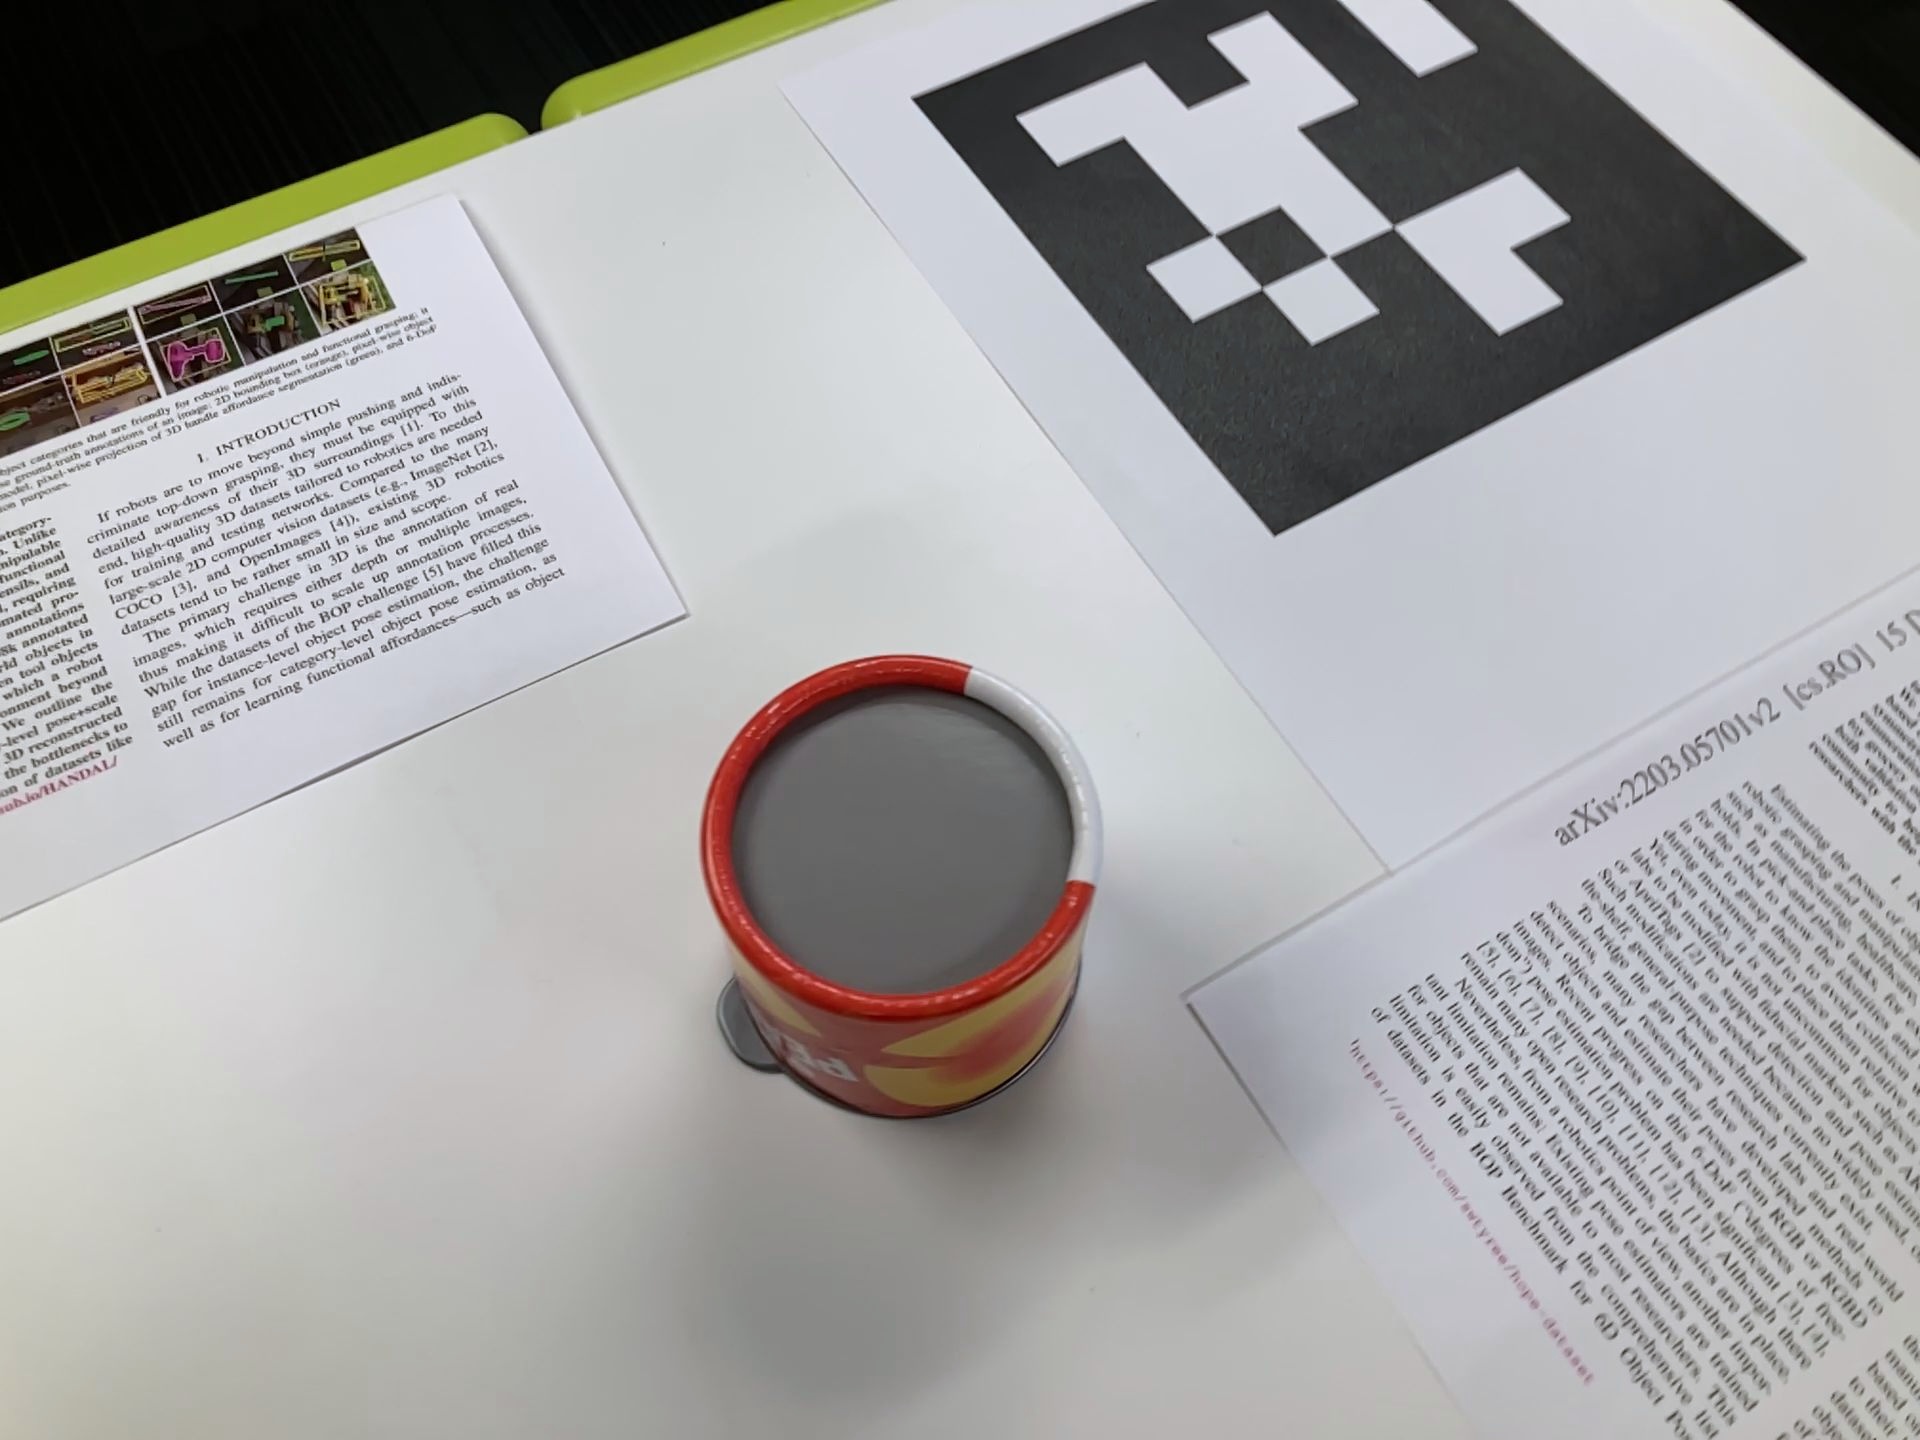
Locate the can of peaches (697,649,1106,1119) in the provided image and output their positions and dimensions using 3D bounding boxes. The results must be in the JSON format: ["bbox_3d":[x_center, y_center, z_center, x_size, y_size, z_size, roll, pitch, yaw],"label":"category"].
[{"bbox_3d":[-0.012,0.030,0.275,0.071,0.058,0.071,1,62,-1],"label":"can of peaches"}]
